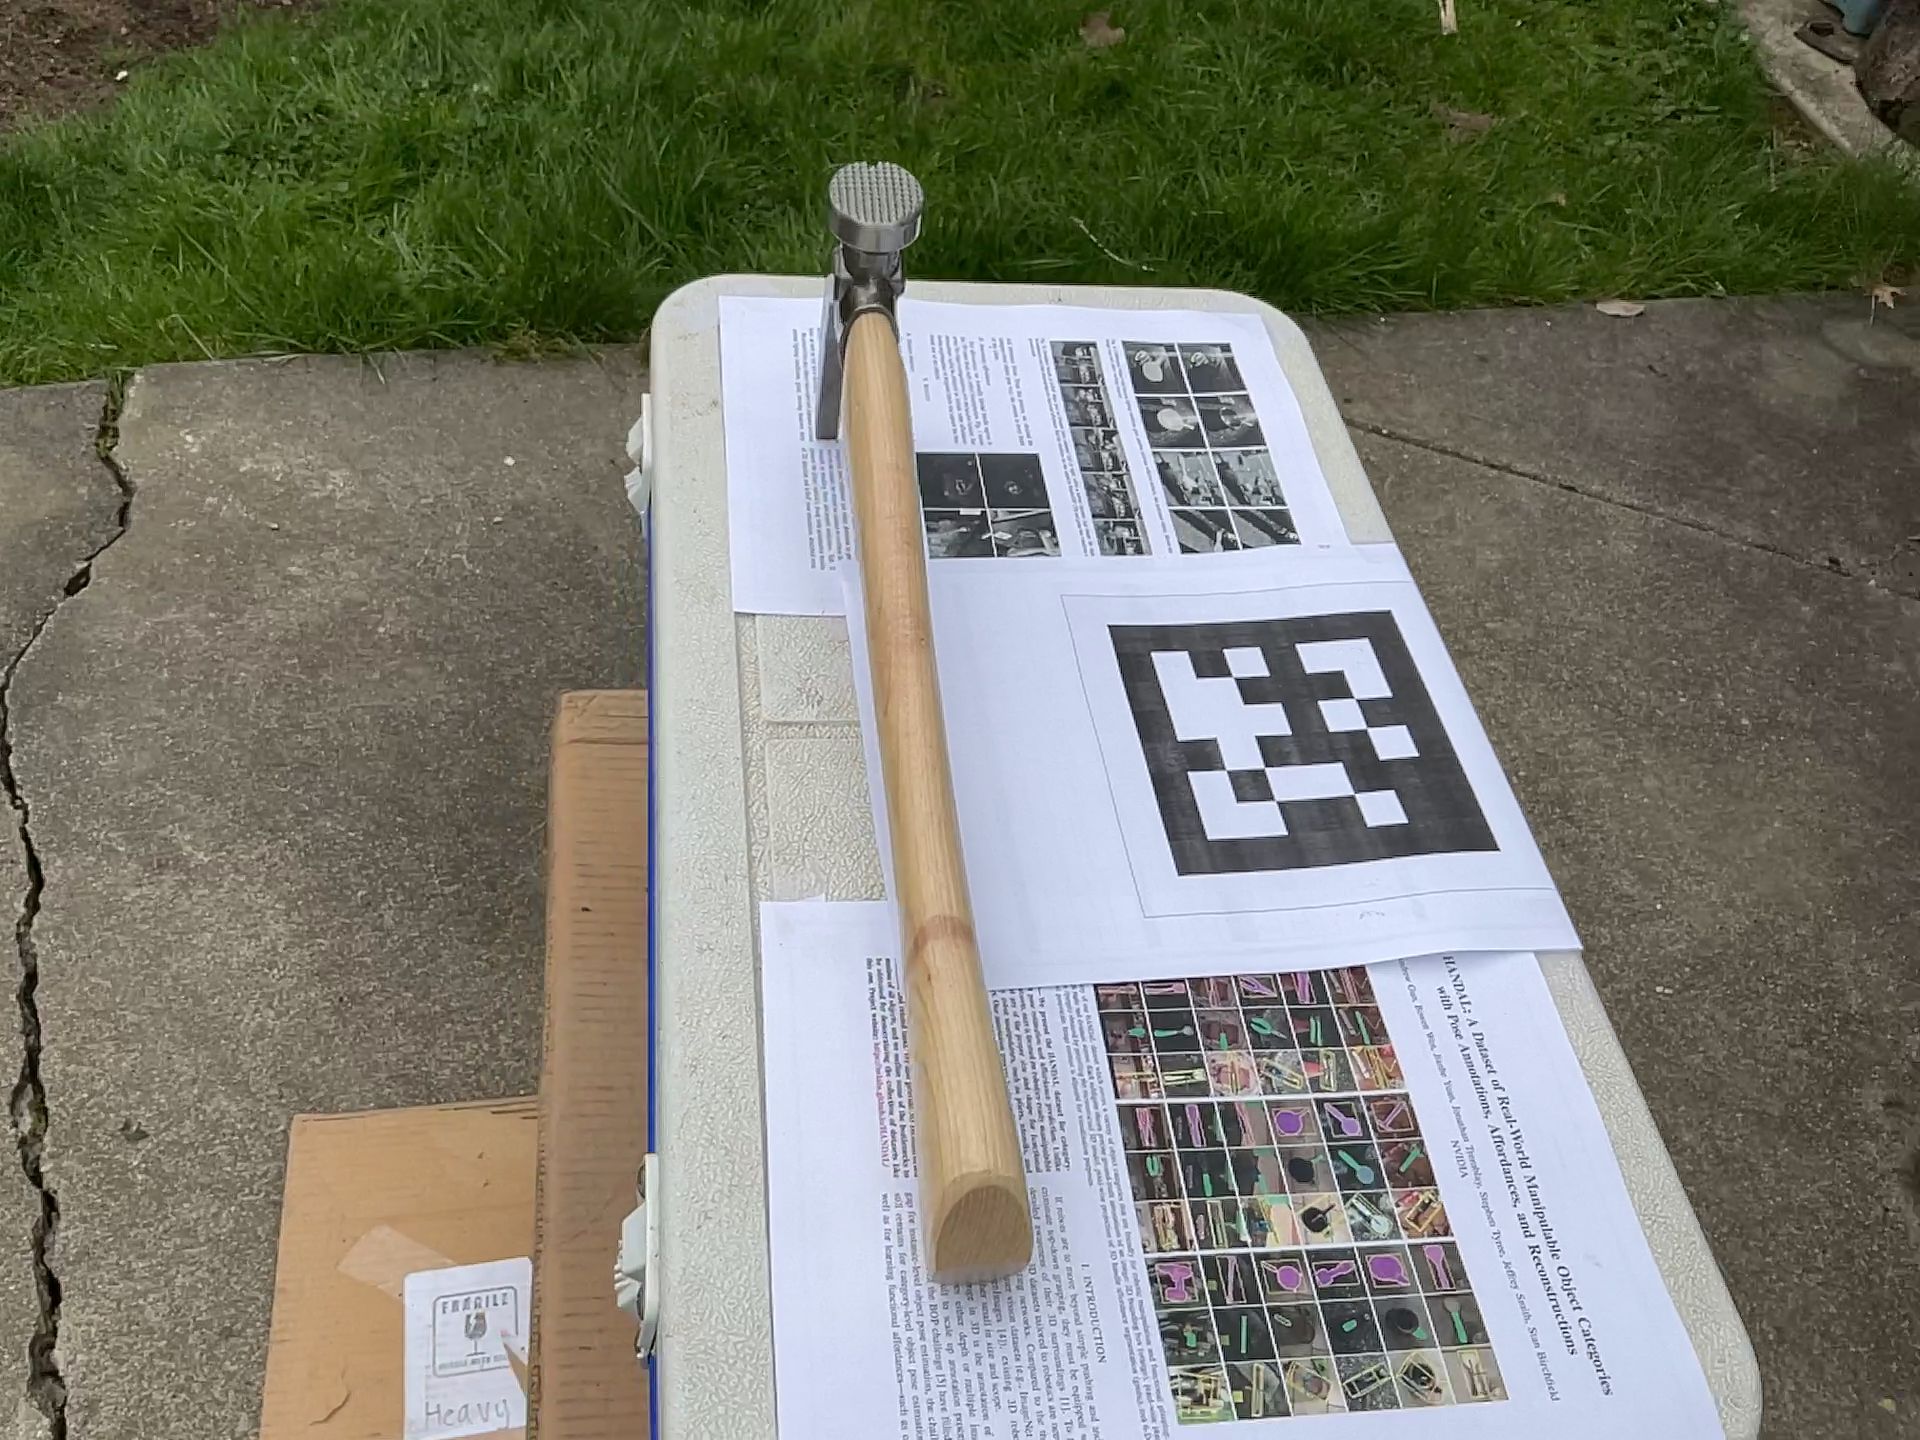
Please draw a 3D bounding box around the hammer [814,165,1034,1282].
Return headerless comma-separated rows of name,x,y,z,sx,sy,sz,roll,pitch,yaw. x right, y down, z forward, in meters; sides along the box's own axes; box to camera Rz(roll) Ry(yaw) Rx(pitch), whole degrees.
hammer,-0.020,-0.007,0.586,0.038,0.146,0.411,-2,59,-10
